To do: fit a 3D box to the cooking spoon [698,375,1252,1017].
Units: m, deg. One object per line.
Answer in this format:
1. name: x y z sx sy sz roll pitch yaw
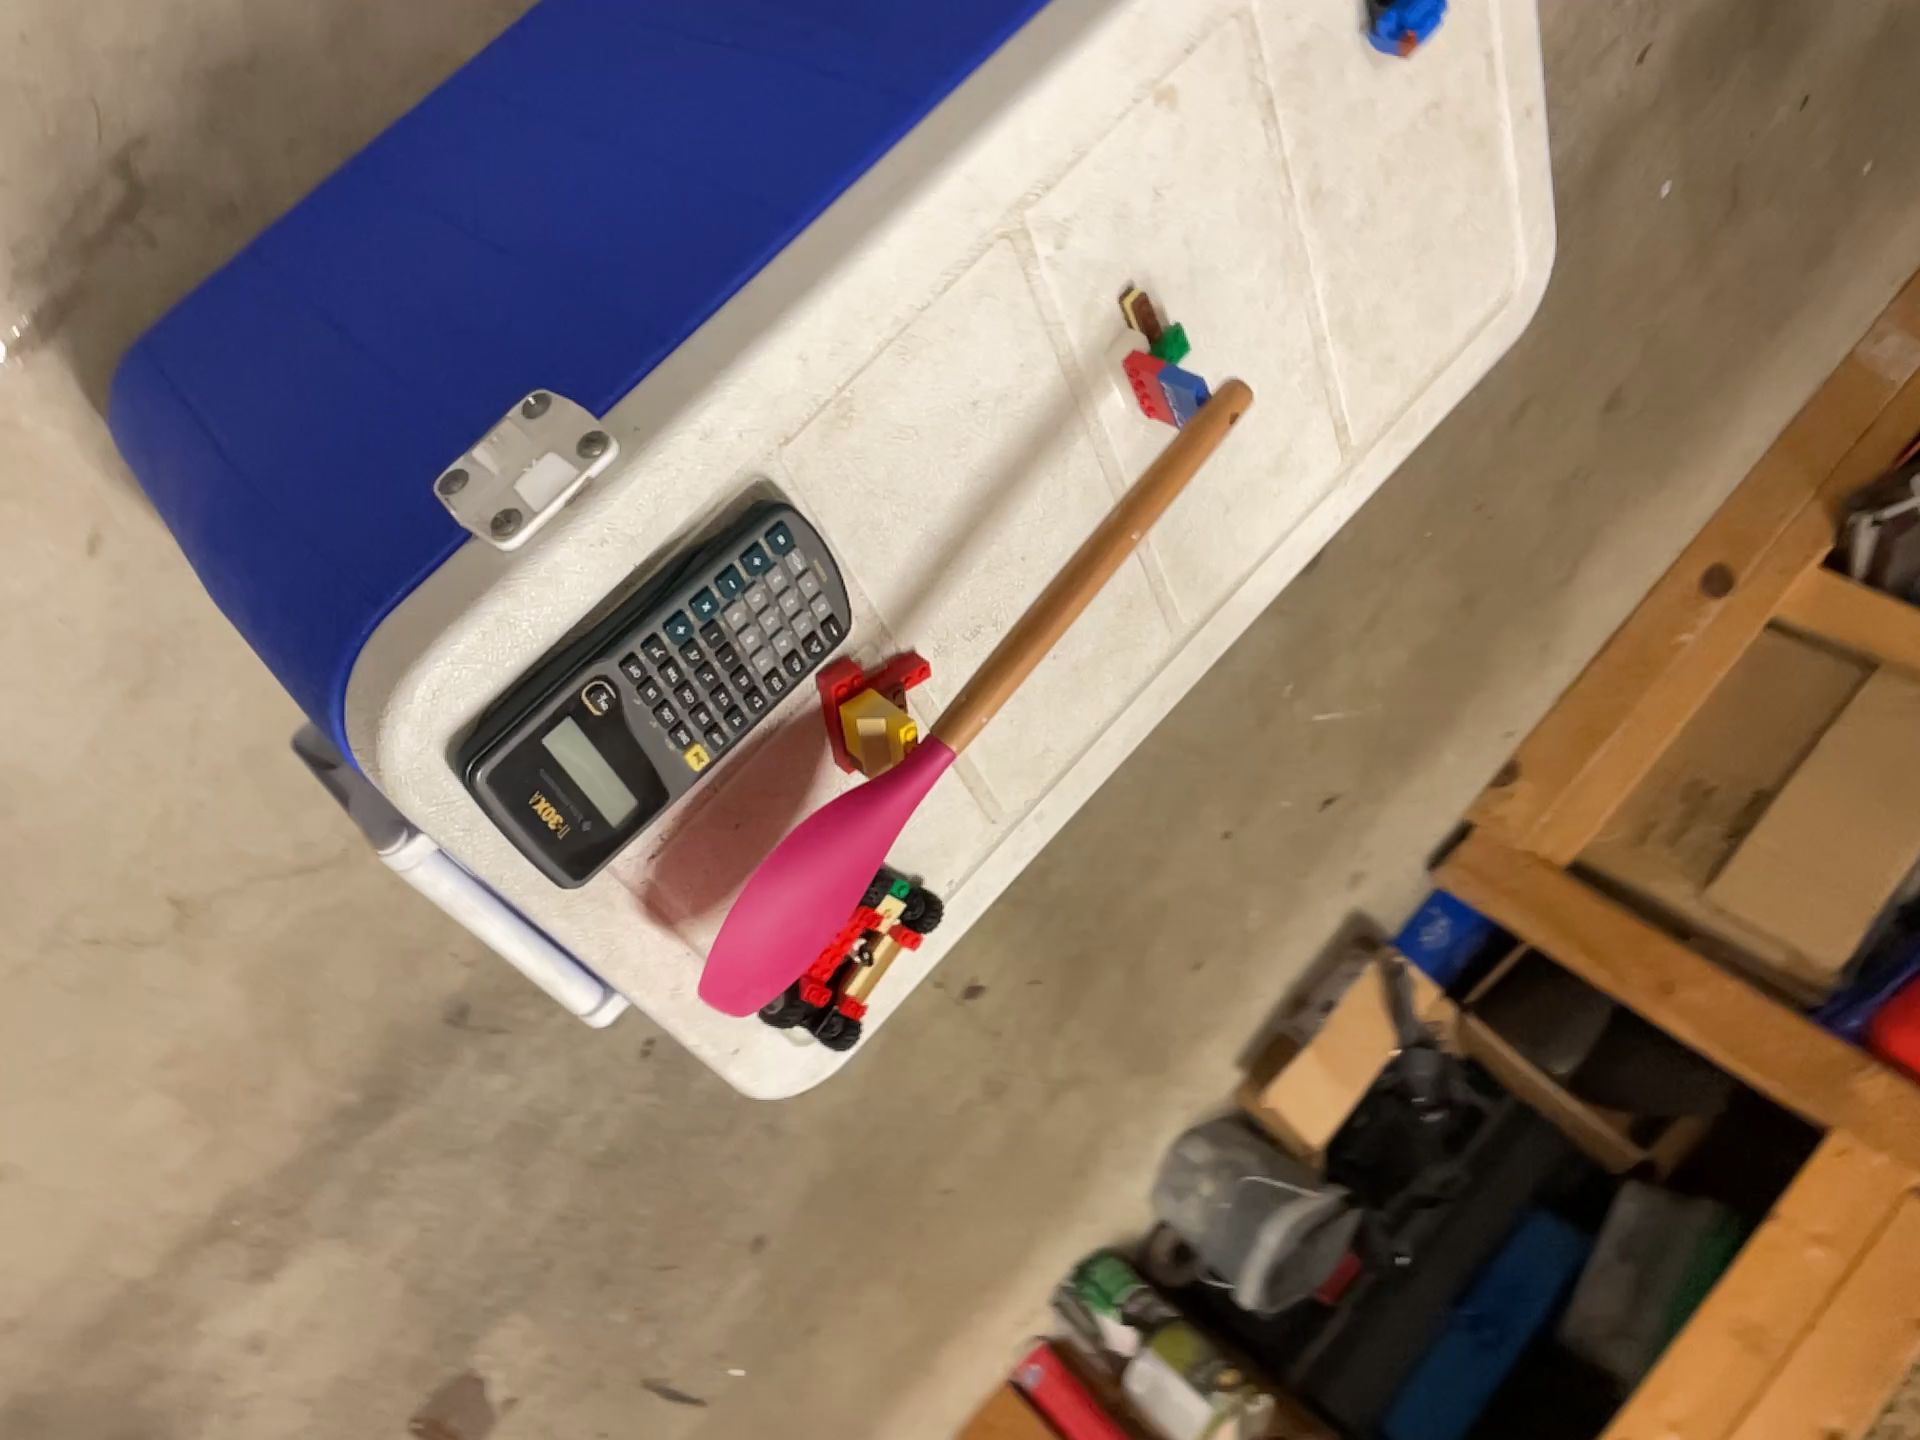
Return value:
1. cooking spoon: 0.010 -0.011 0.622 0.319 0.017 0.068 -51 146 -4
